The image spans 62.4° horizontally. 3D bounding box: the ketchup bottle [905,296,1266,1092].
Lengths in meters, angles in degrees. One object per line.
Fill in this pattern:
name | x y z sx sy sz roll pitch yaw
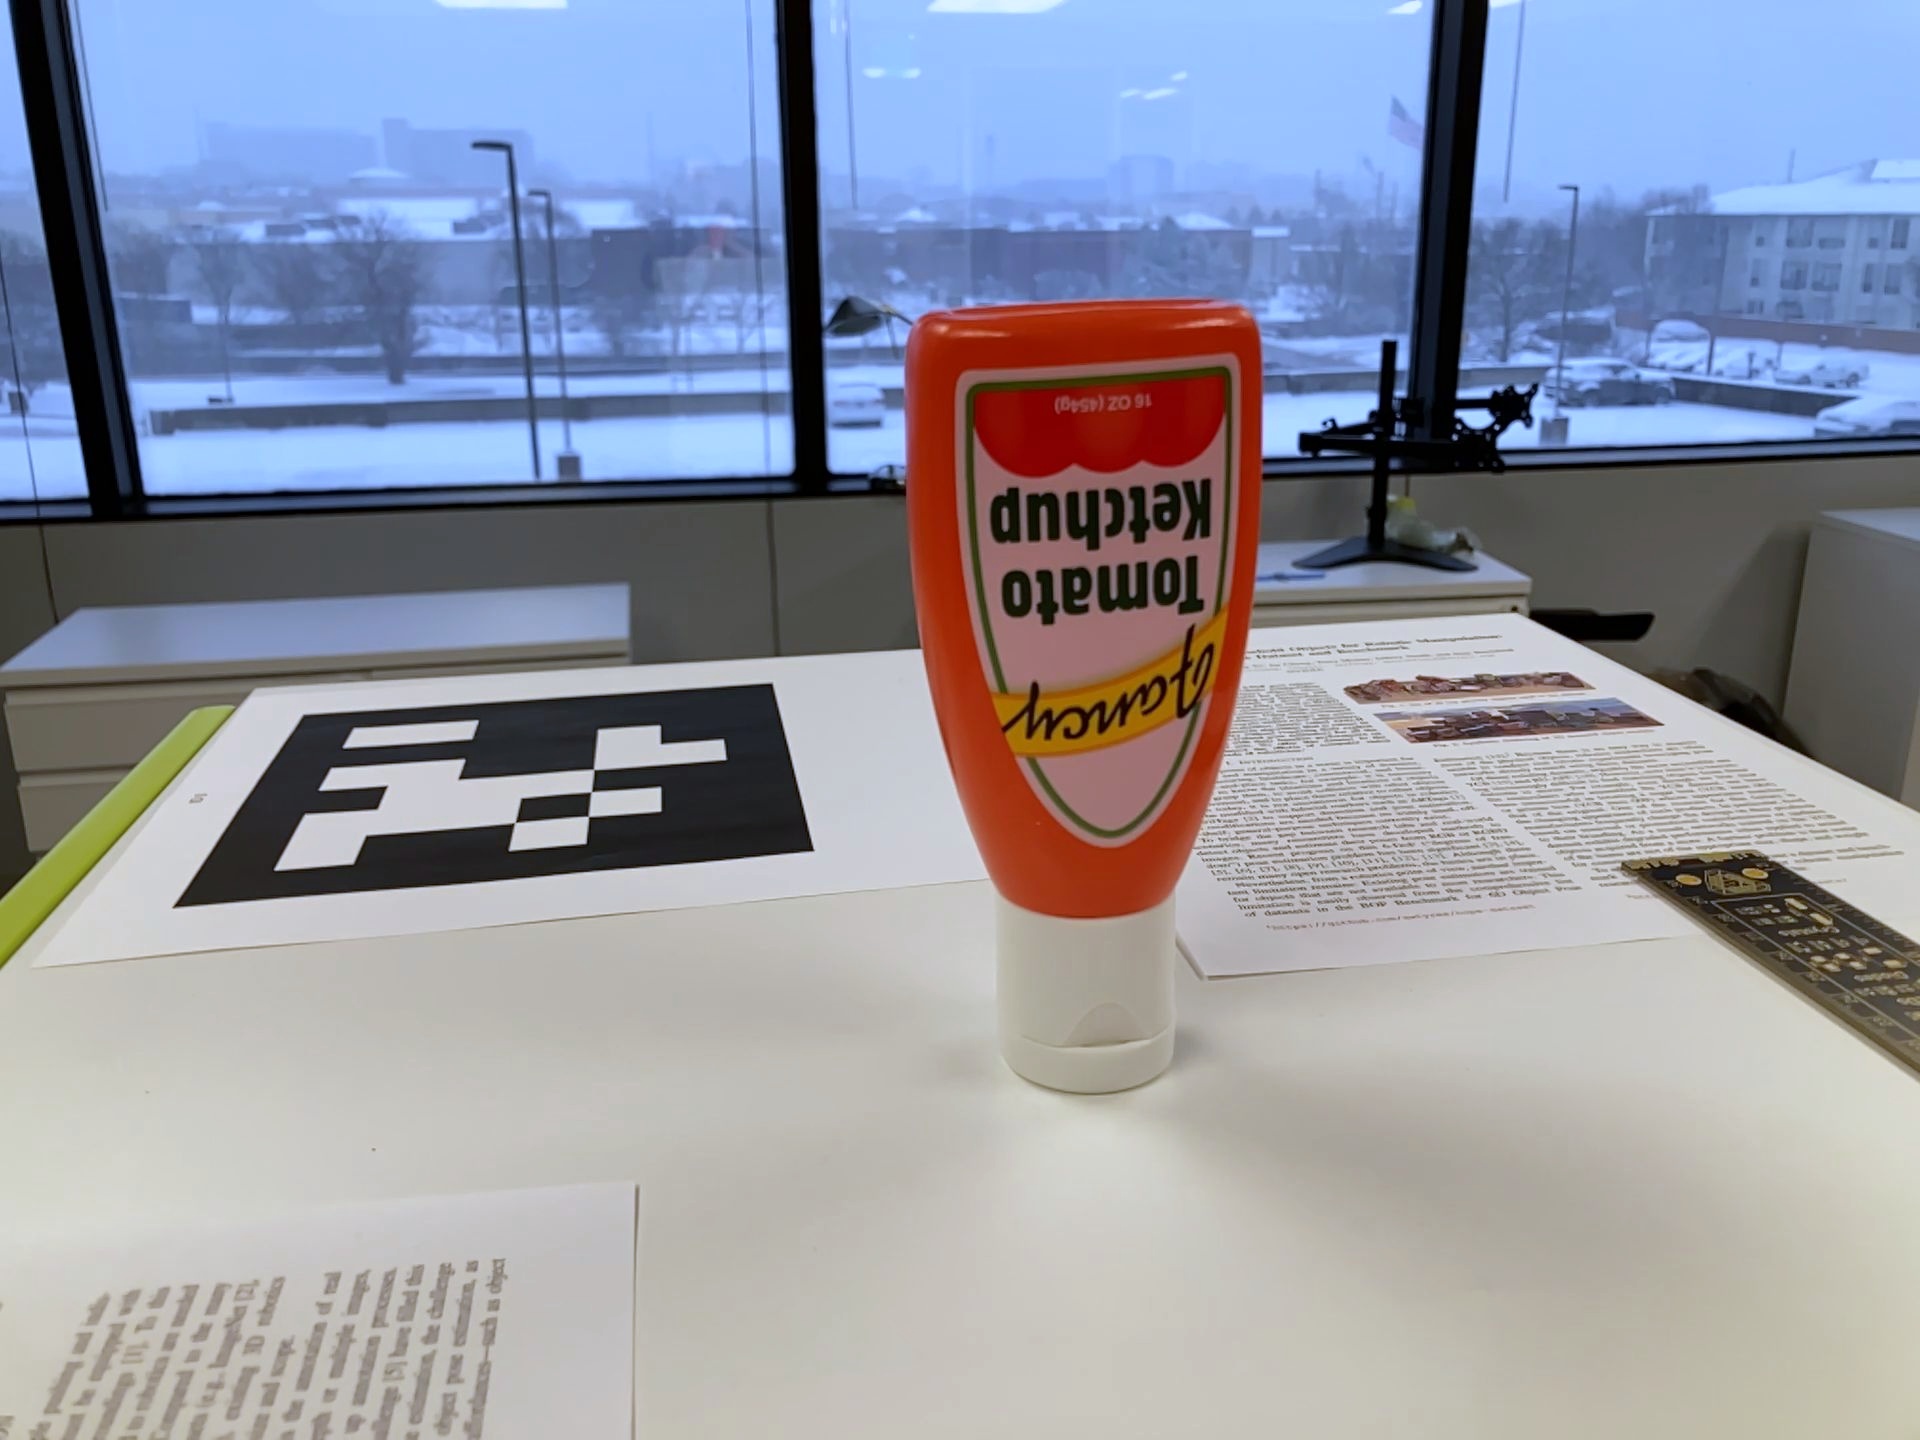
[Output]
ketchup bottle | 0.024 -0.004 0.302 0.065 0.149 0.043 -4 18 -8
